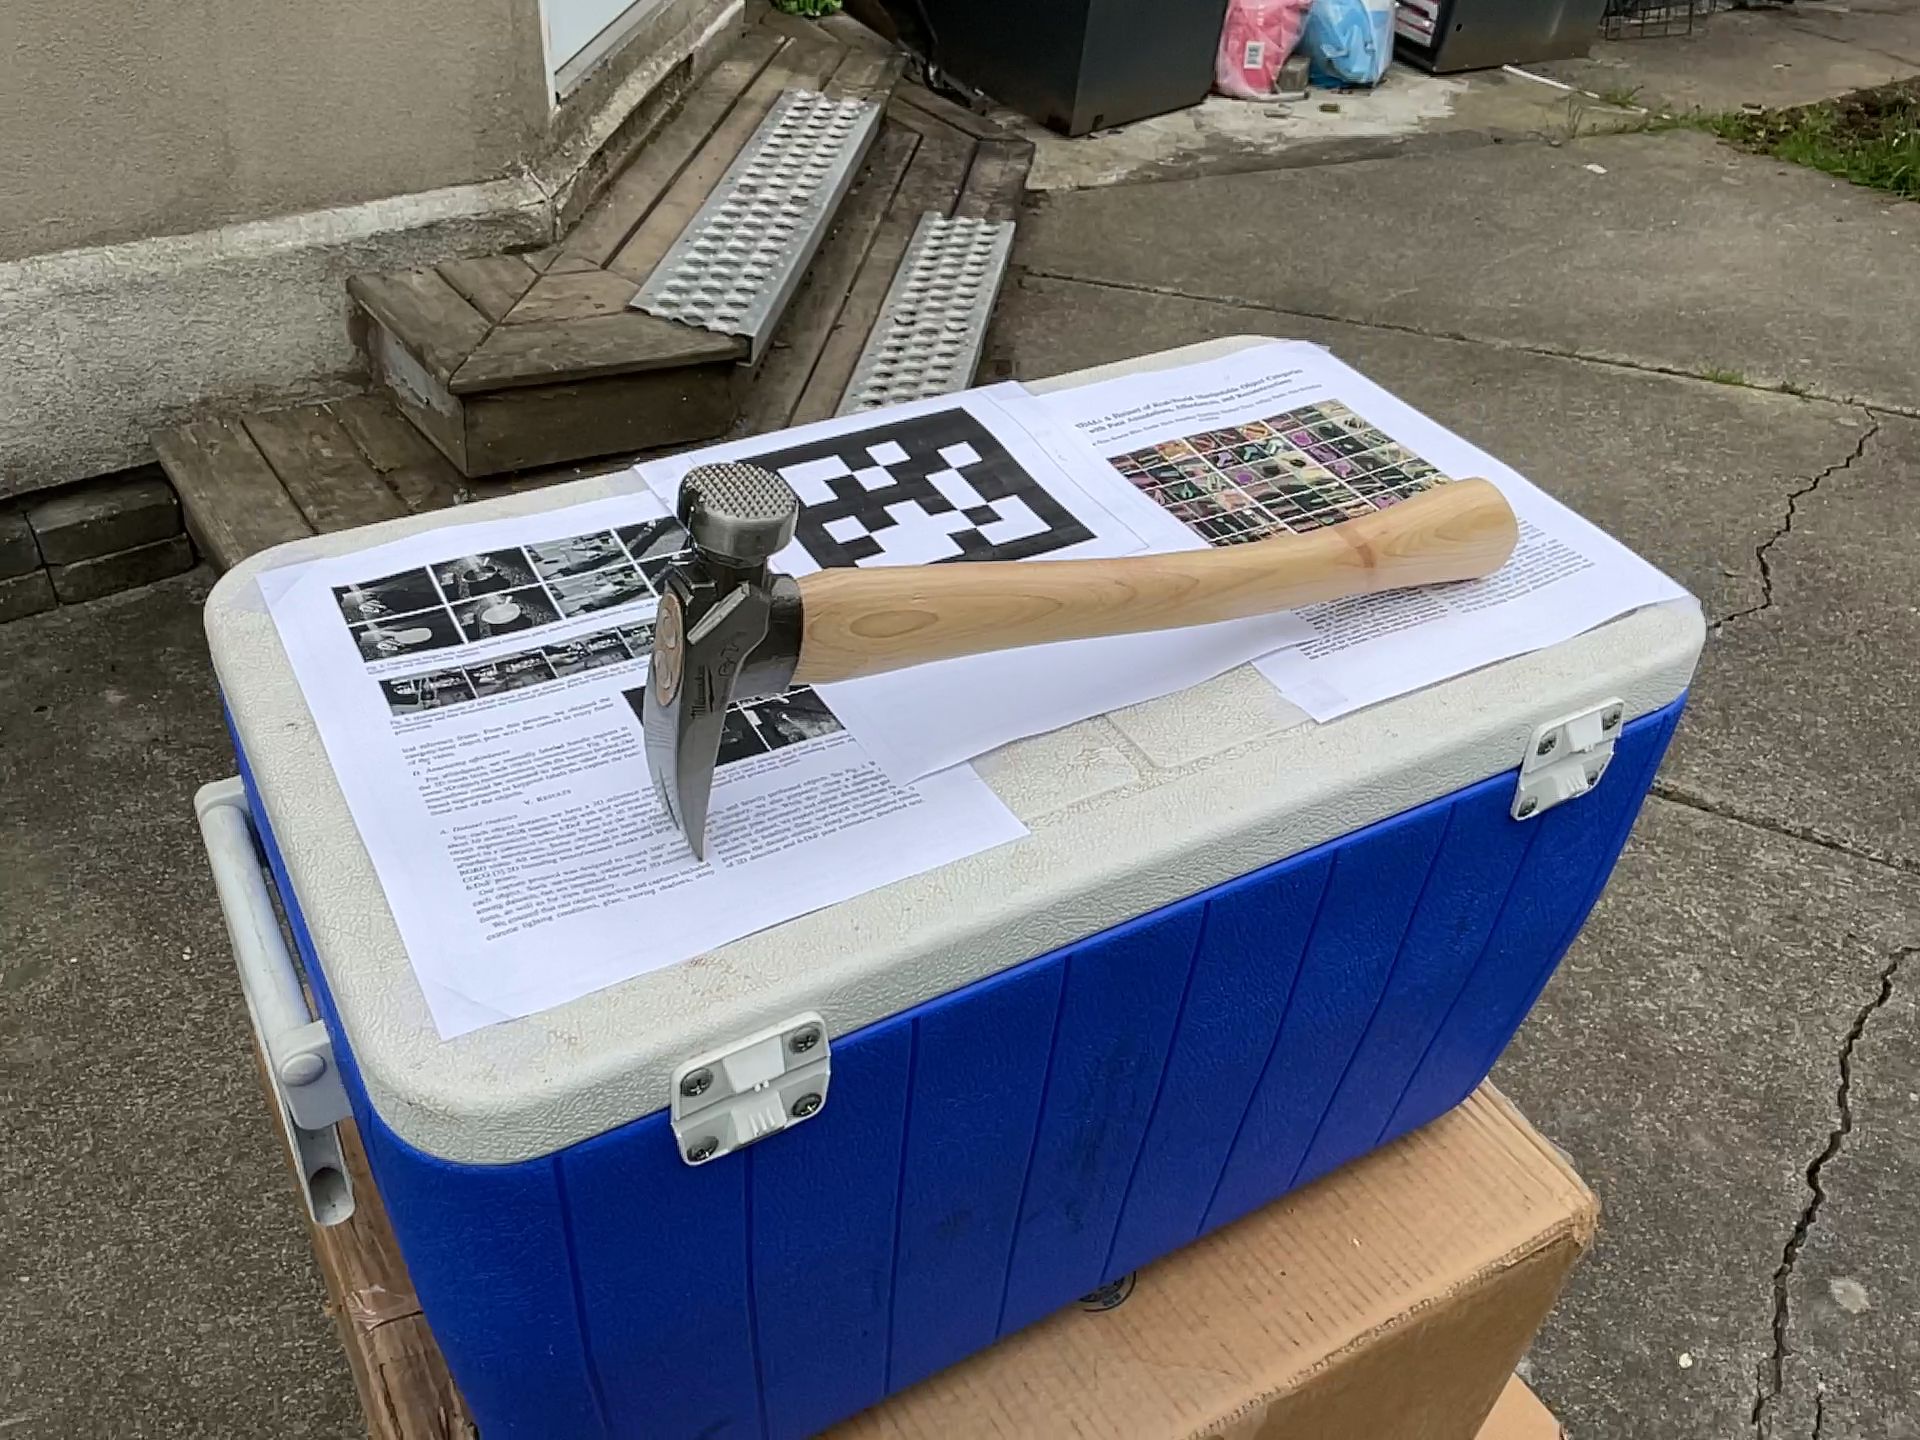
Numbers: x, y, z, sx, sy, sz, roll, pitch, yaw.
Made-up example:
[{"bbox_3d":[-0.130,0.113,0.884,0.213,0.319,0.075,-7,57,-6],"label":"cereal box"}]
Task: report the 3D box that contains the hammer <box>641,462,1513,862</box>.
[{"bbox_3d":[0.070,-0.043,0.645,0.410,0.146,0.038,-10,41,-32],"label":"hammer"}]
